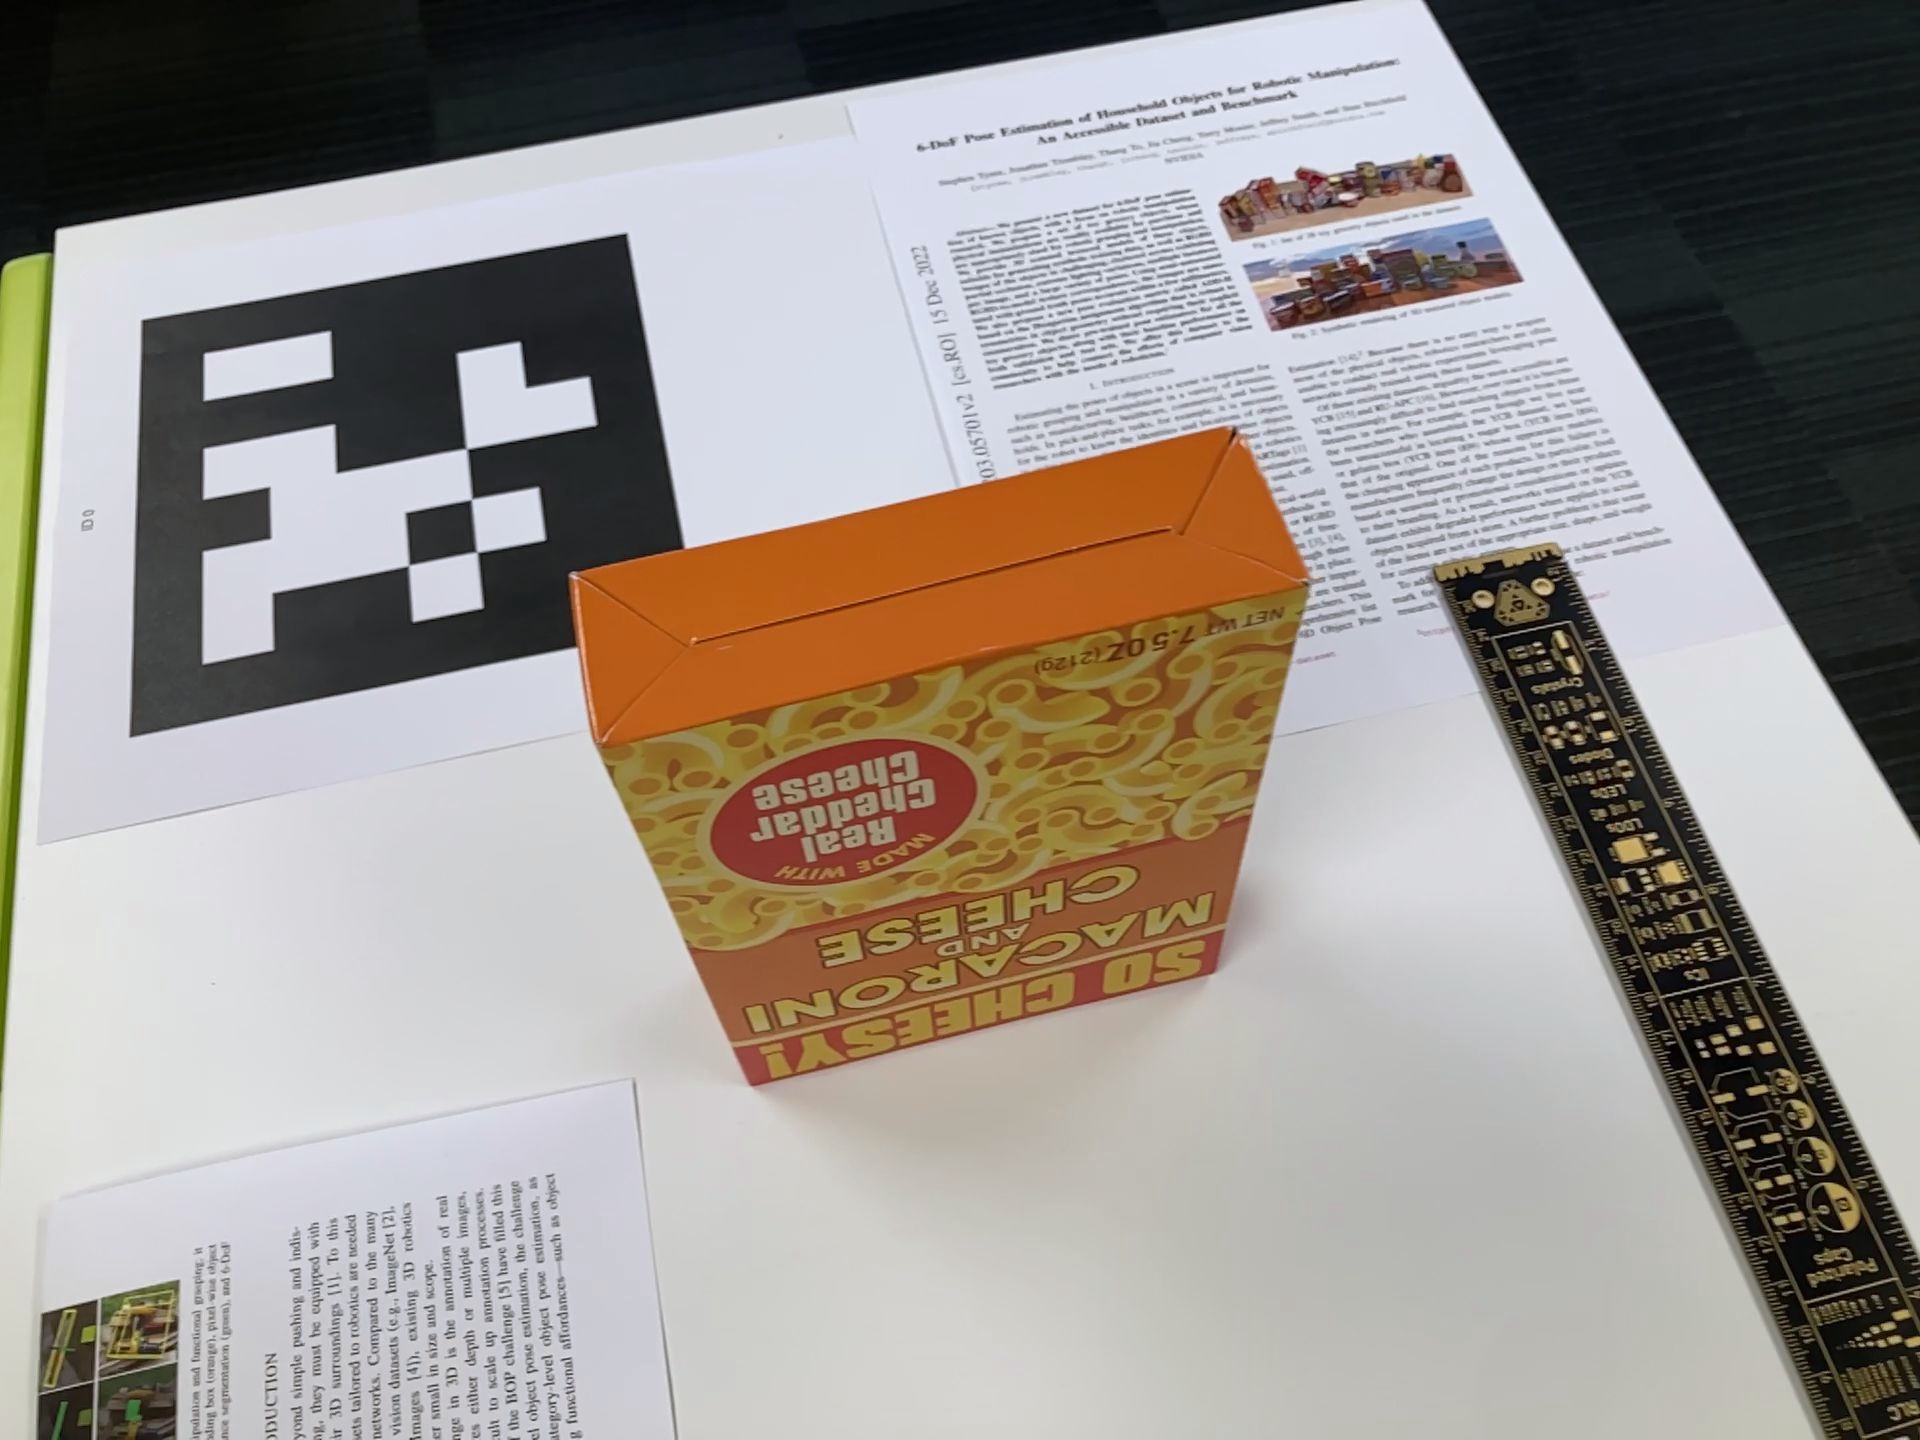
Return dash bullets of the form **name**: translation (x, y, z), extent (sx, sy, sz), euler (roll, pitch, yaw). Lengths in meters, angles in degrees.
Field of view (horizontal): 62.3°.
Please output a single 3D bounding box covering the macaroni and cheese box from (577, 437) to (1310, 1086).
- **macaroni and cheese box**: translation (0.001, 0.020, 0.343), extent (0.124, 0.166, 0.040), euler (-12, 58, -5)
